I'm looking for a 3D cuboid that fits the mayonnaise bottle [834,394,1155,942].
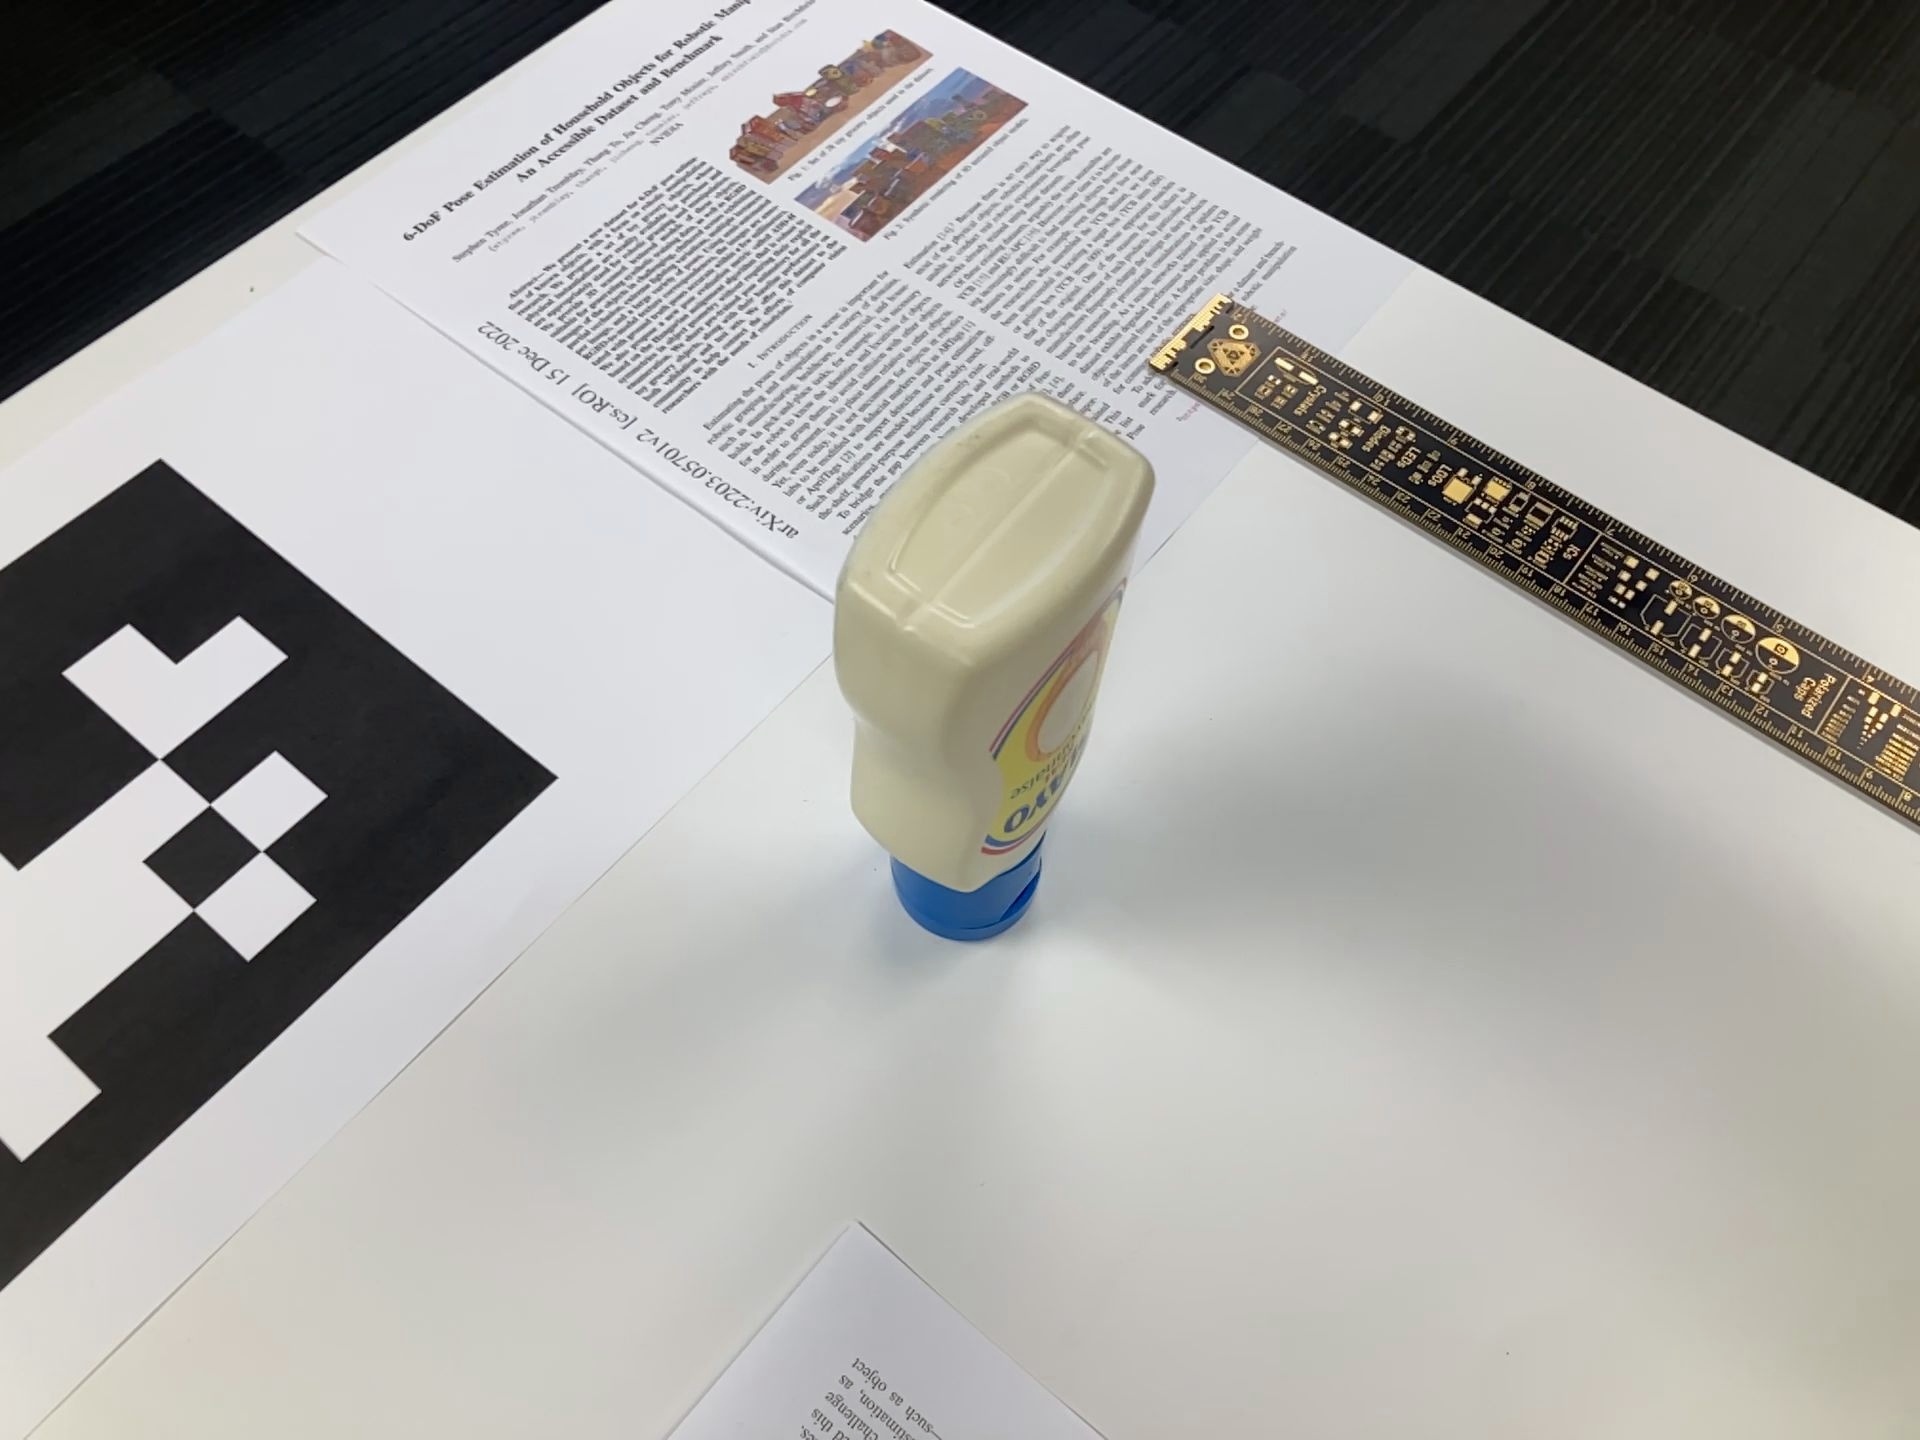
[{"bbox_3d":[0.004,0.002,0.332,0.041,0.148,0.065,34,64,16],"label":"mayonnaise bottle"}]
